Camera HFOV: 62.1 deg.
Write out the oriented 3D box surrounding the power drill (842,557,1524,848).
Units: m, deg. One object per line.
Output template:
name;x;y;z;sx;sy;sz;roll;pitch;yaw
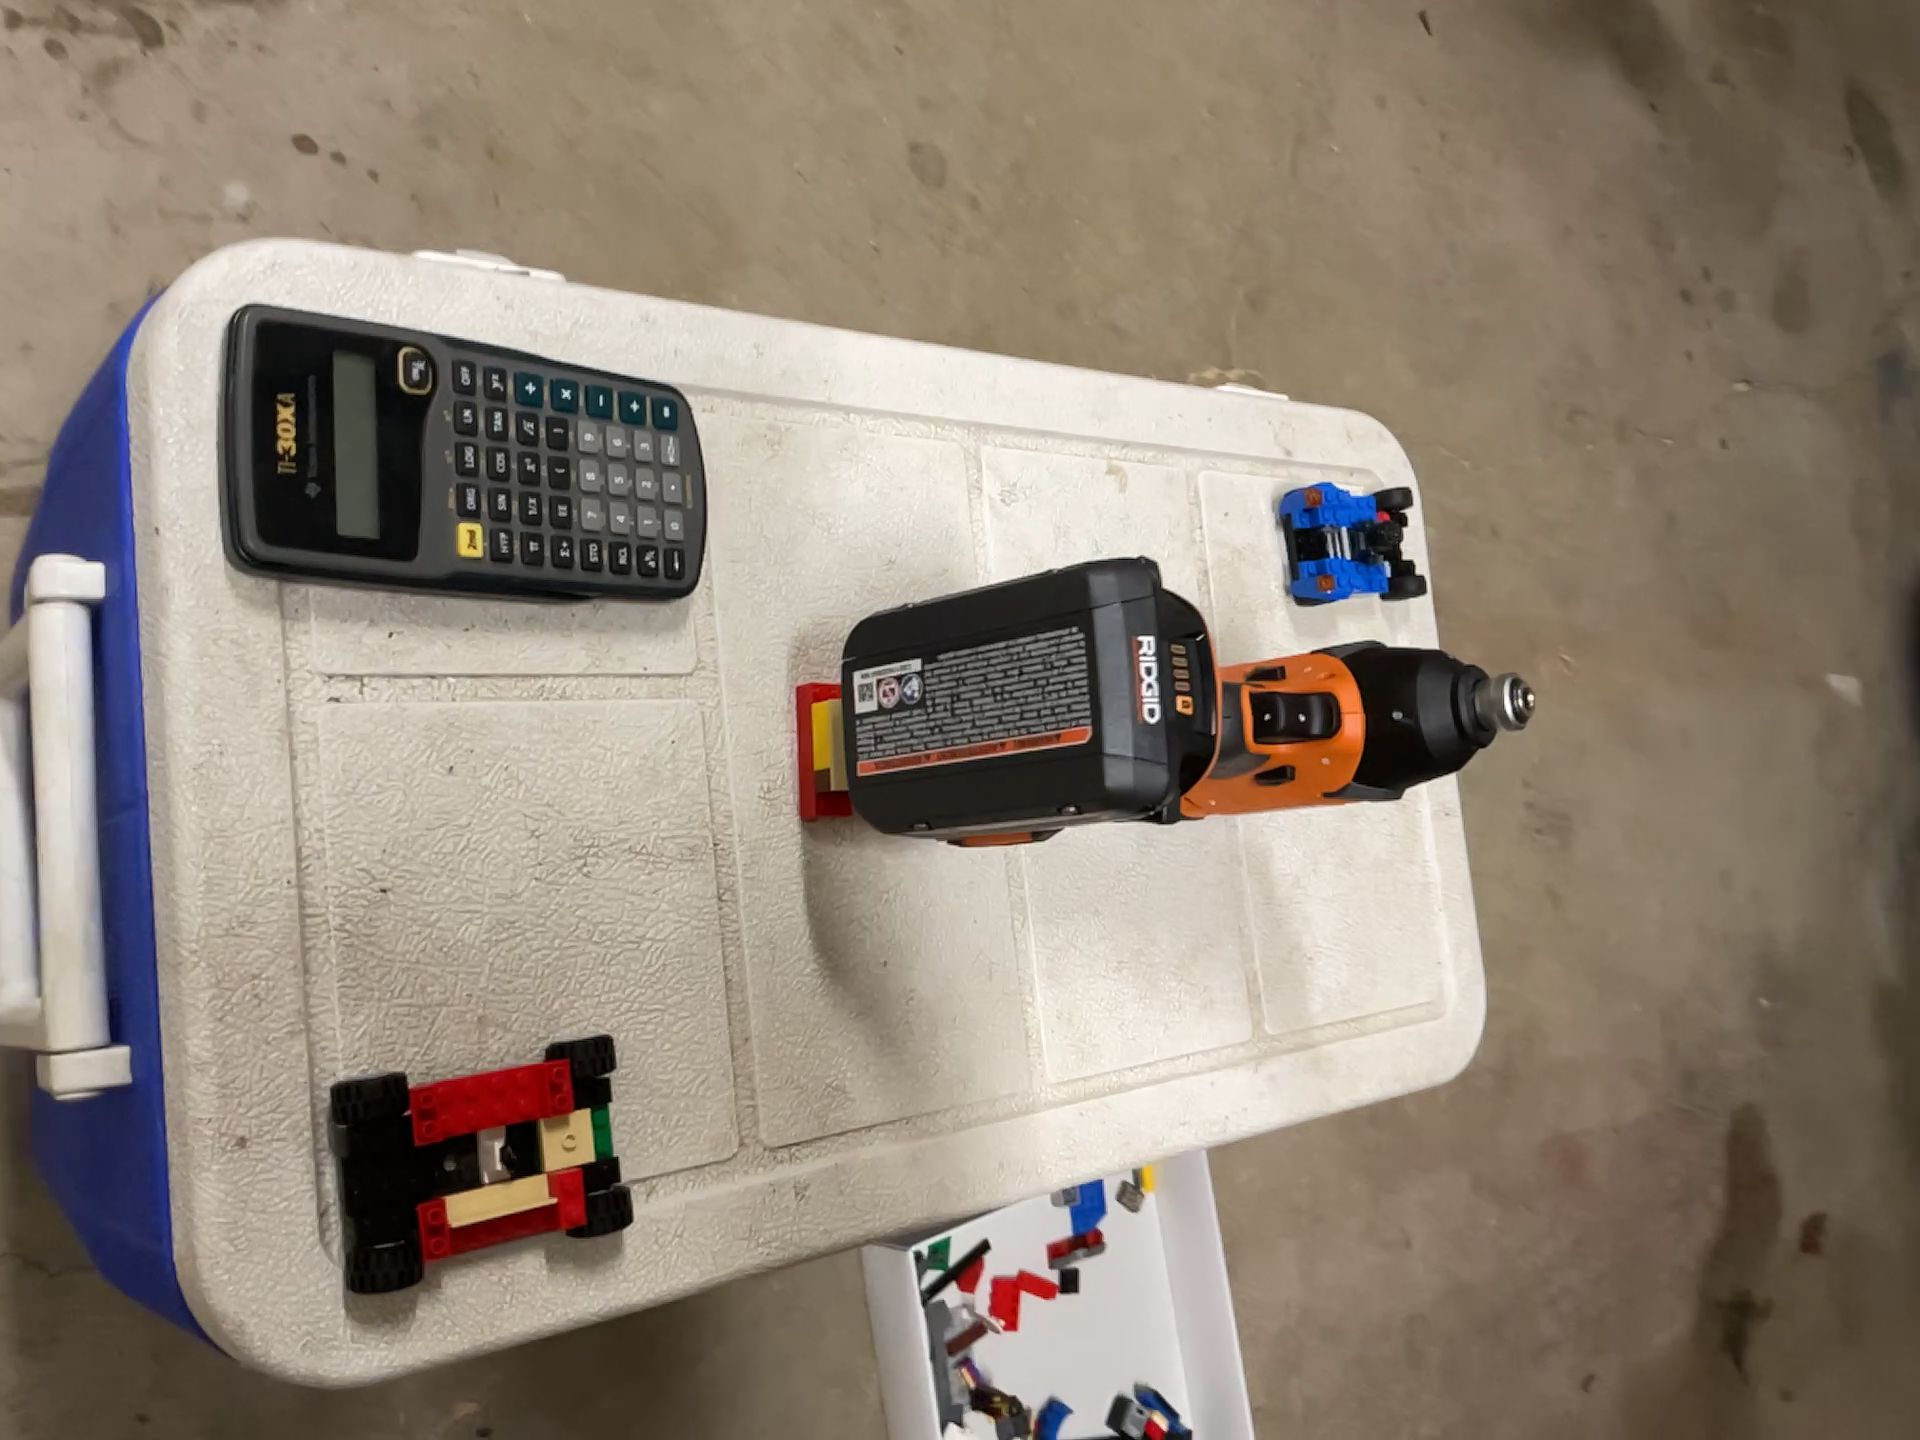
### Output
power drill;0.087;-0.001;0.569;0.226;0.164;0.084;5;78;-50
